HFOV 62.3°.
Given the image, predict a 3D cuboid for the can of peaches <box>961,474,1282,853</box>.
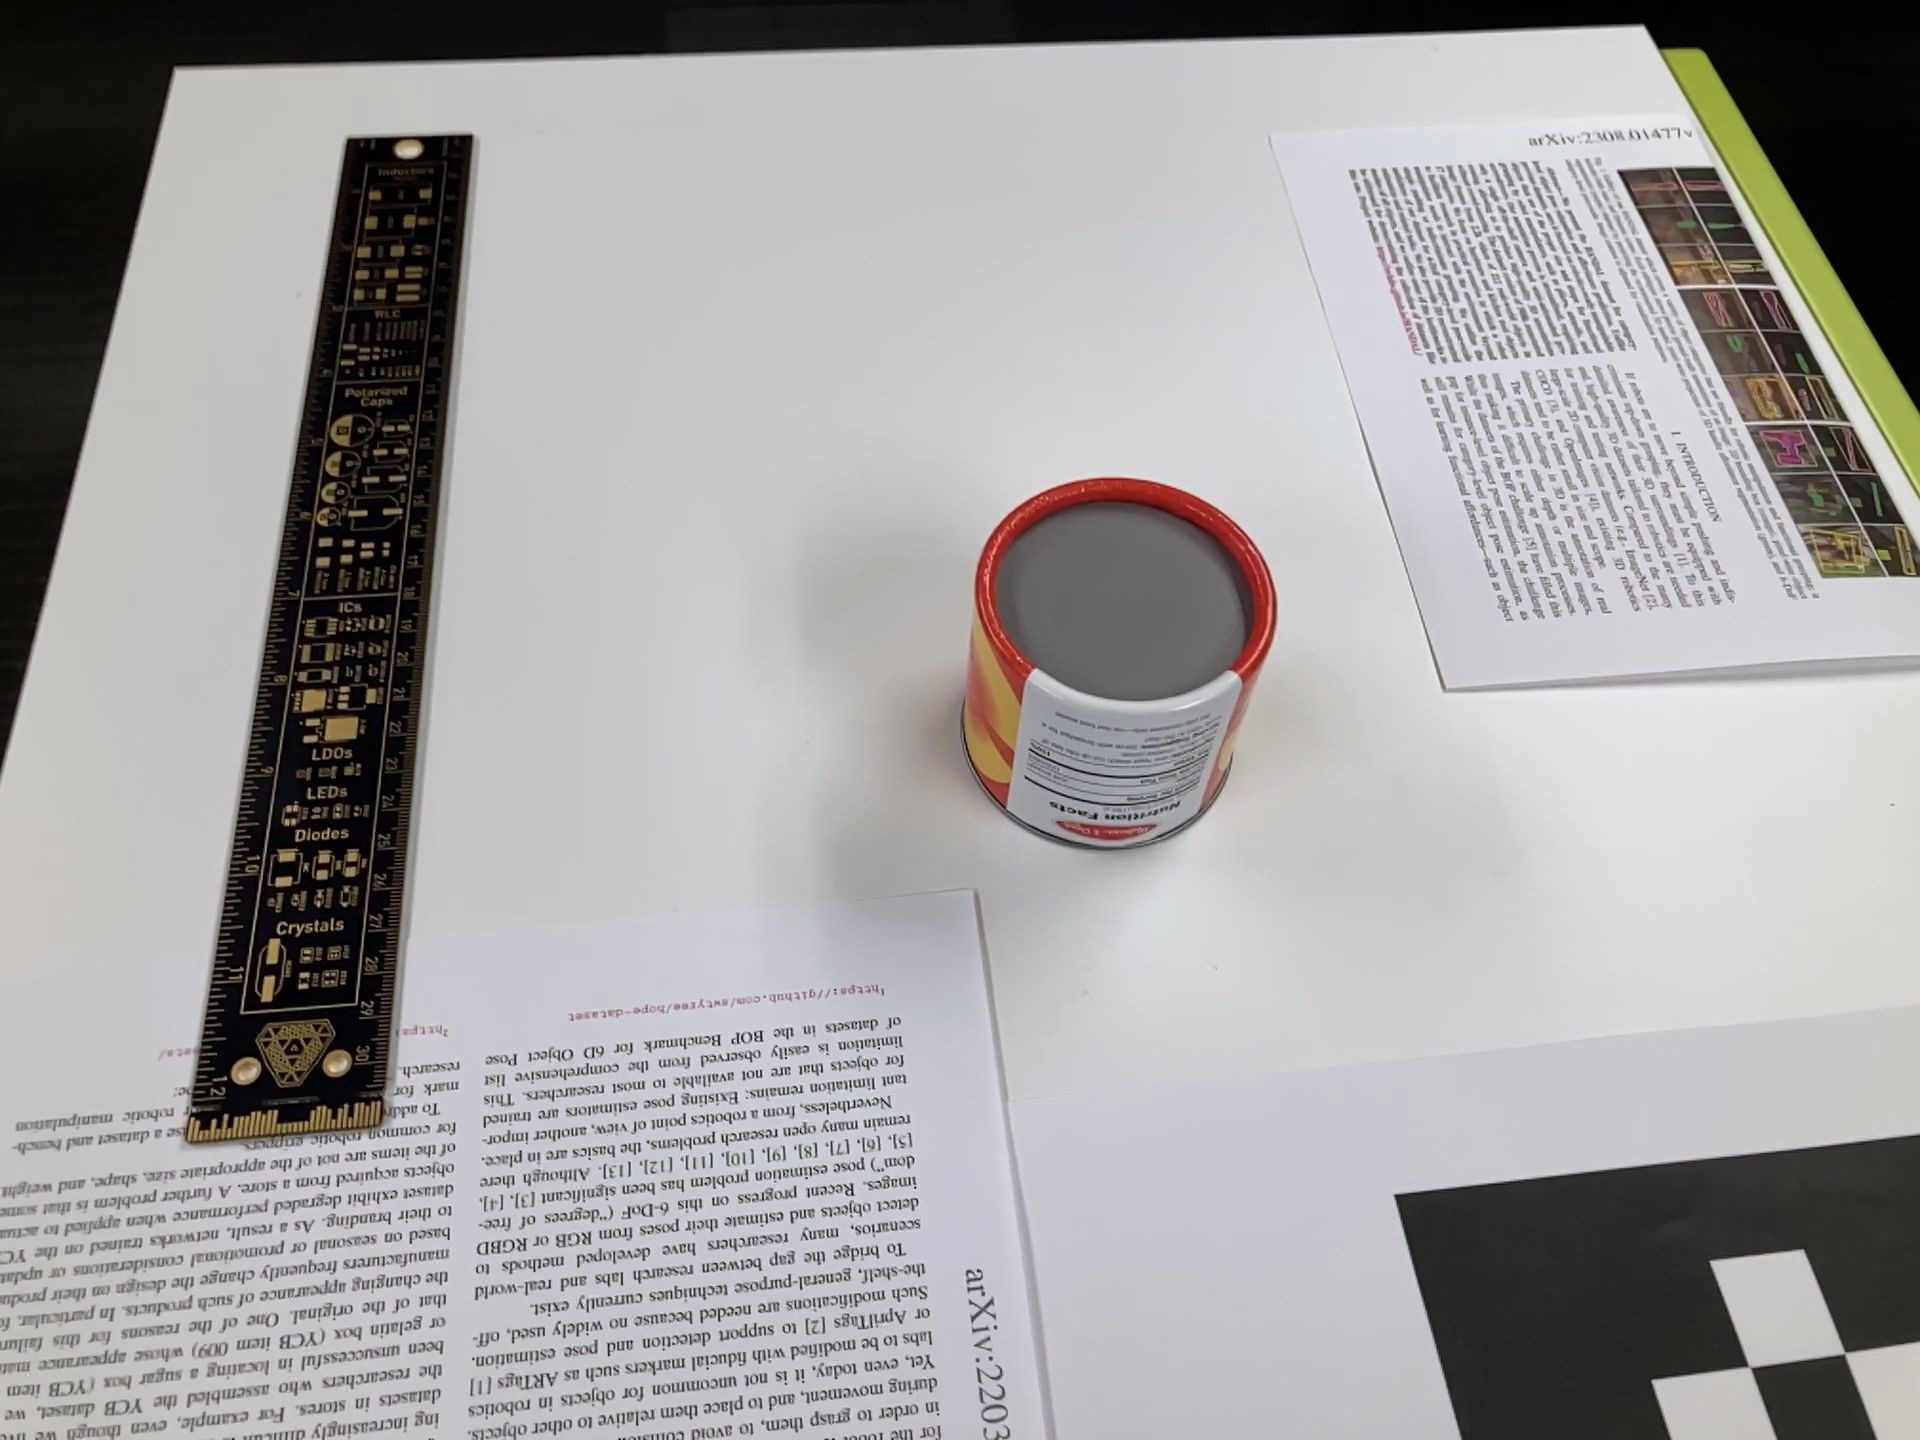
[{"bbox_3d":[0.034,-0.015,0.358,0.071,0.058,0.071,1,57,-2],"label":"can of peaches"}]
